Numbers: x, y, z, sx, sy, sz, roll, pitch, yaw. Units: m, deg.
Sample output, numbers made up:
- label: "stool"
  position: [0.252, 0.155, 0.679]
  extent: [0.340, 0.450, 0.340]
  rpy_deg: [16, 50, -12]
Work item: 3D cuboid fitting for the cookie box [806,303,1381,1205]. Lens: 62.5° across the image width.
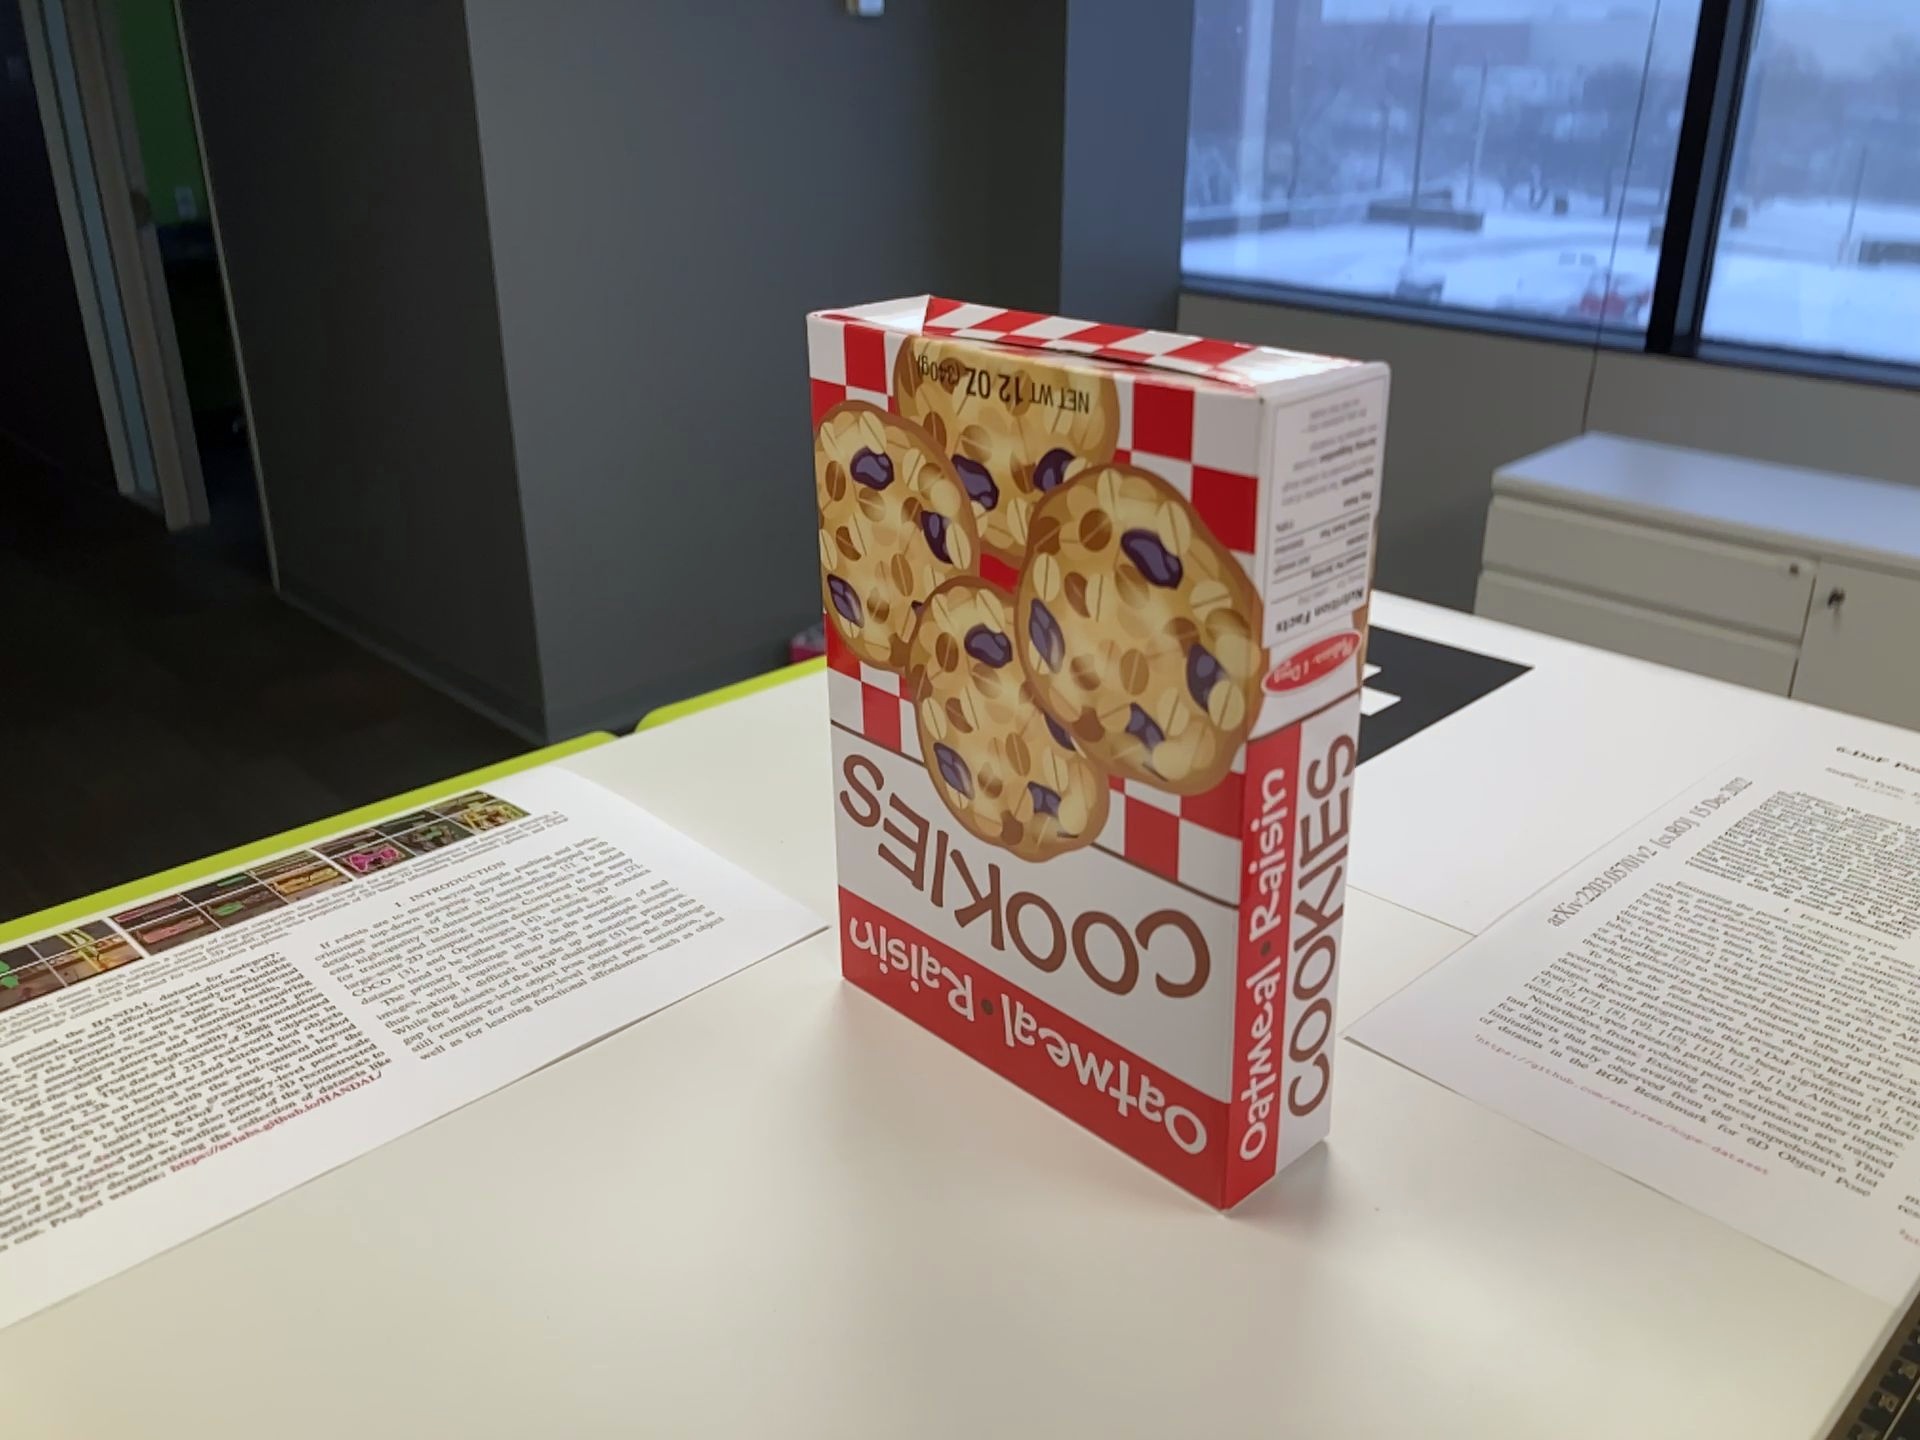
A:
- label: "cookie box"
  position: [0.023, 0.002, 0.342]
  extent: [0.040, 0.167, 0.123]
  rpy_deg: [-21, 30, -38]
